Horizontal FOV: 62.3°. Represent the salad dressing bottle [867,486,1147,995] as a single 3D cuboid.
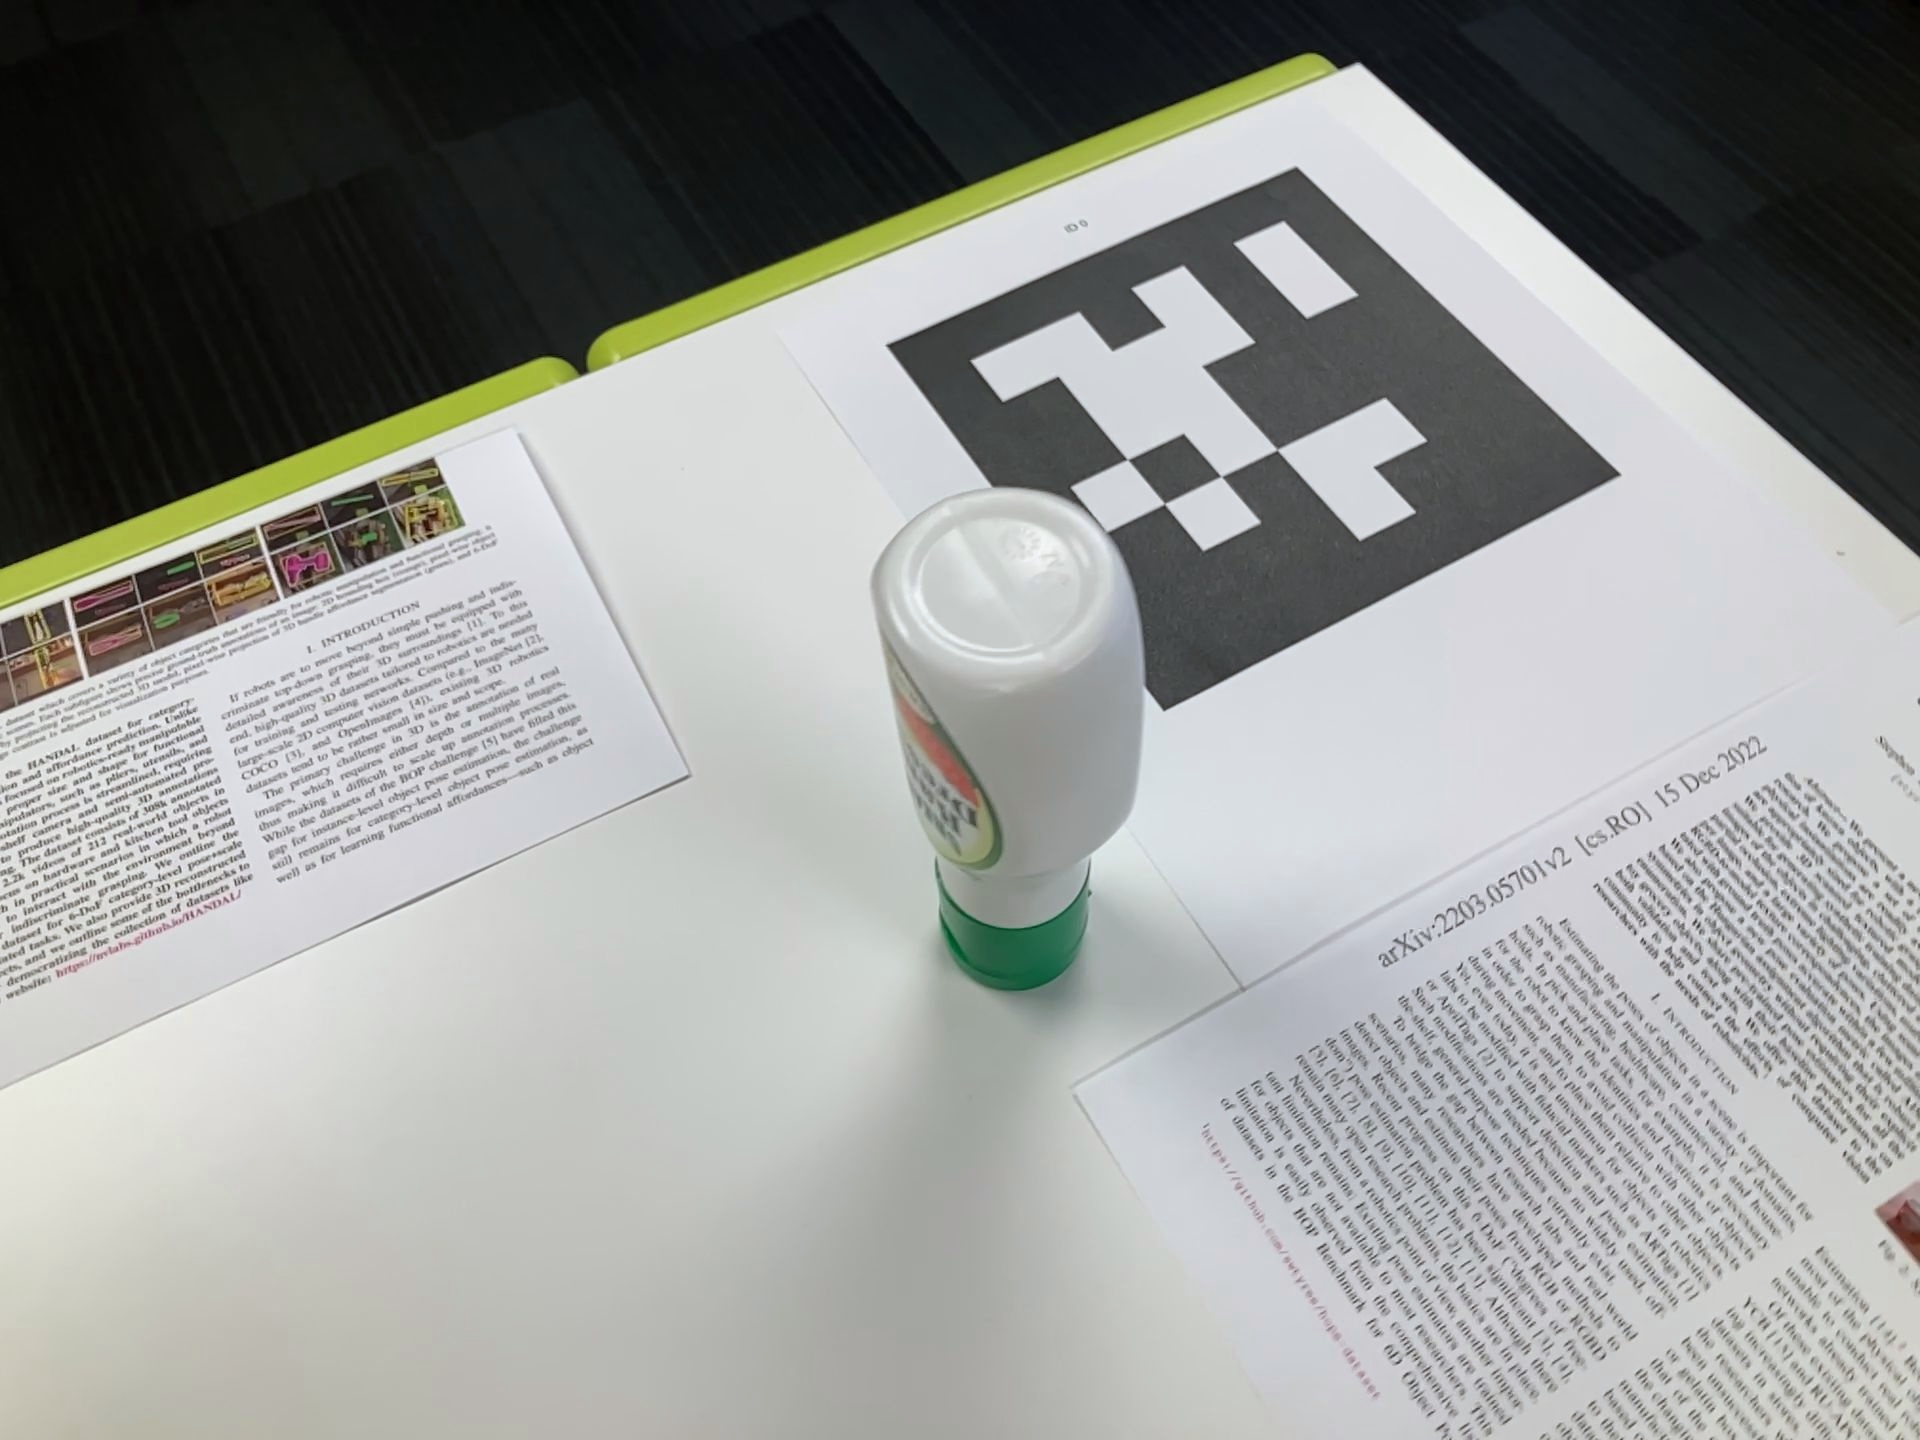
[{"bbox_3d":[0.010,0.014,0.335,0.044,0.147,0.064,-25,60,-12],"label":"salad dressing bottle"}]
